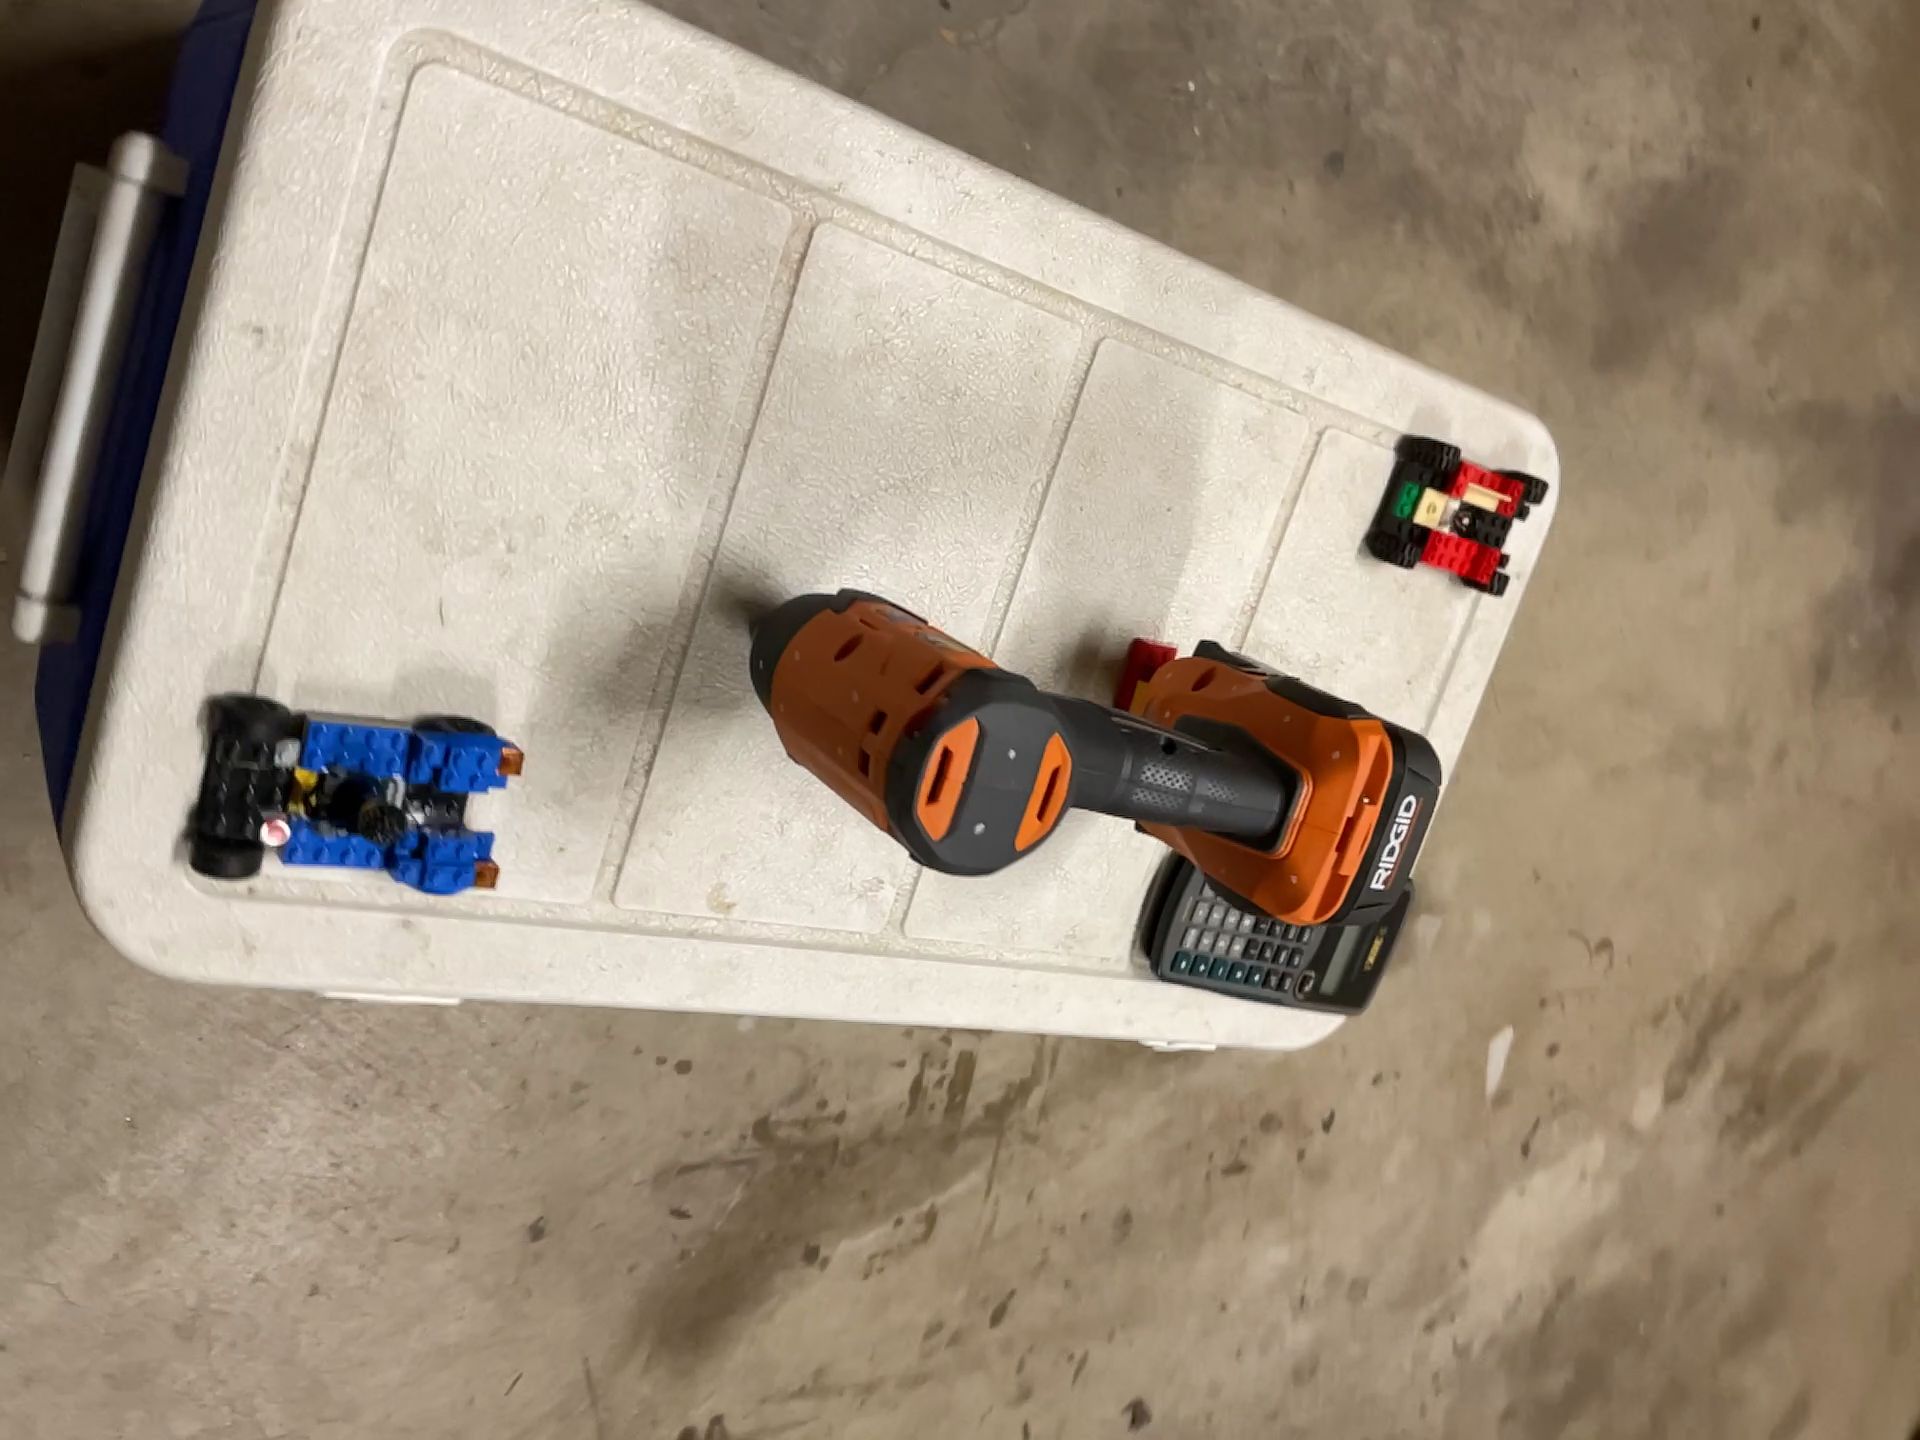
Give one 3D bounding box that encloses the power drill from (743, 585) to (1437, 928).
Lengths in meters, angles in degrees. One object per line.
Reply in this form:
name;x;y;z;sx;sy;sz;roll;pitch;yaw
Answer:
power drill;0.037;0.005;0.562;0.226;0.164;0.084;10;104;-35
